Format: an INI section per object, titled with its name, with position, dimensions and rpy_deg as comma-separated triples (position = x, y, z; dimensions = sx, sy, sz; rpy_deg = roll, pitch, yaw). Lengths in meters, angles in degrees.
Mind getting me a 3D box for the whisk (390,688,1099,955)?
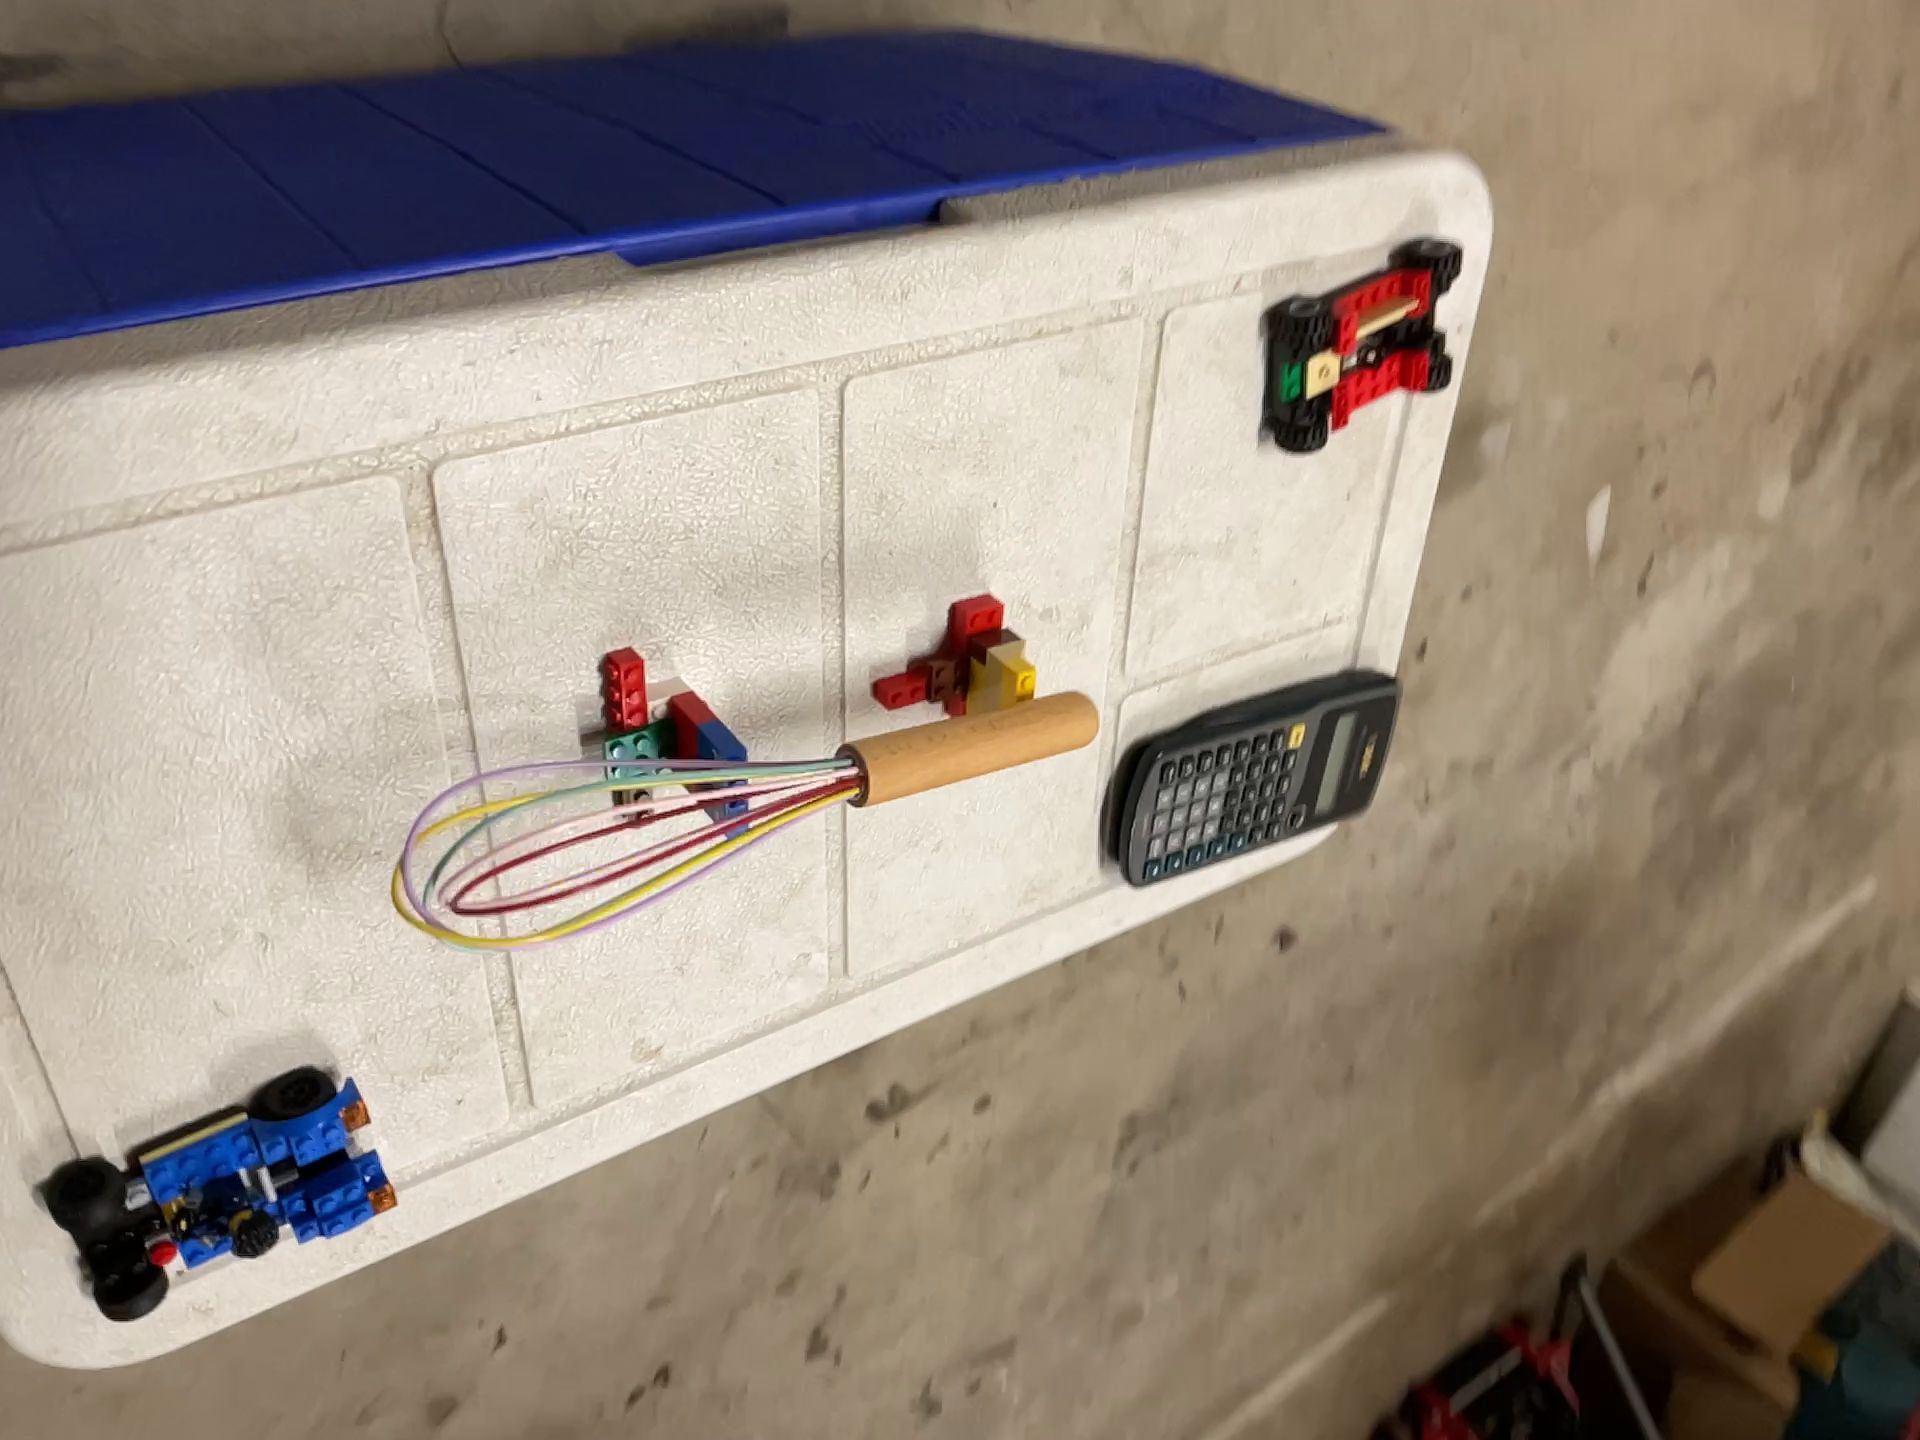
[whisk]
position = -0.051, 0.025, 0.489
dimensions = 0.245, 0.047, 0.051
rpy_deg = -14, 114, -36
